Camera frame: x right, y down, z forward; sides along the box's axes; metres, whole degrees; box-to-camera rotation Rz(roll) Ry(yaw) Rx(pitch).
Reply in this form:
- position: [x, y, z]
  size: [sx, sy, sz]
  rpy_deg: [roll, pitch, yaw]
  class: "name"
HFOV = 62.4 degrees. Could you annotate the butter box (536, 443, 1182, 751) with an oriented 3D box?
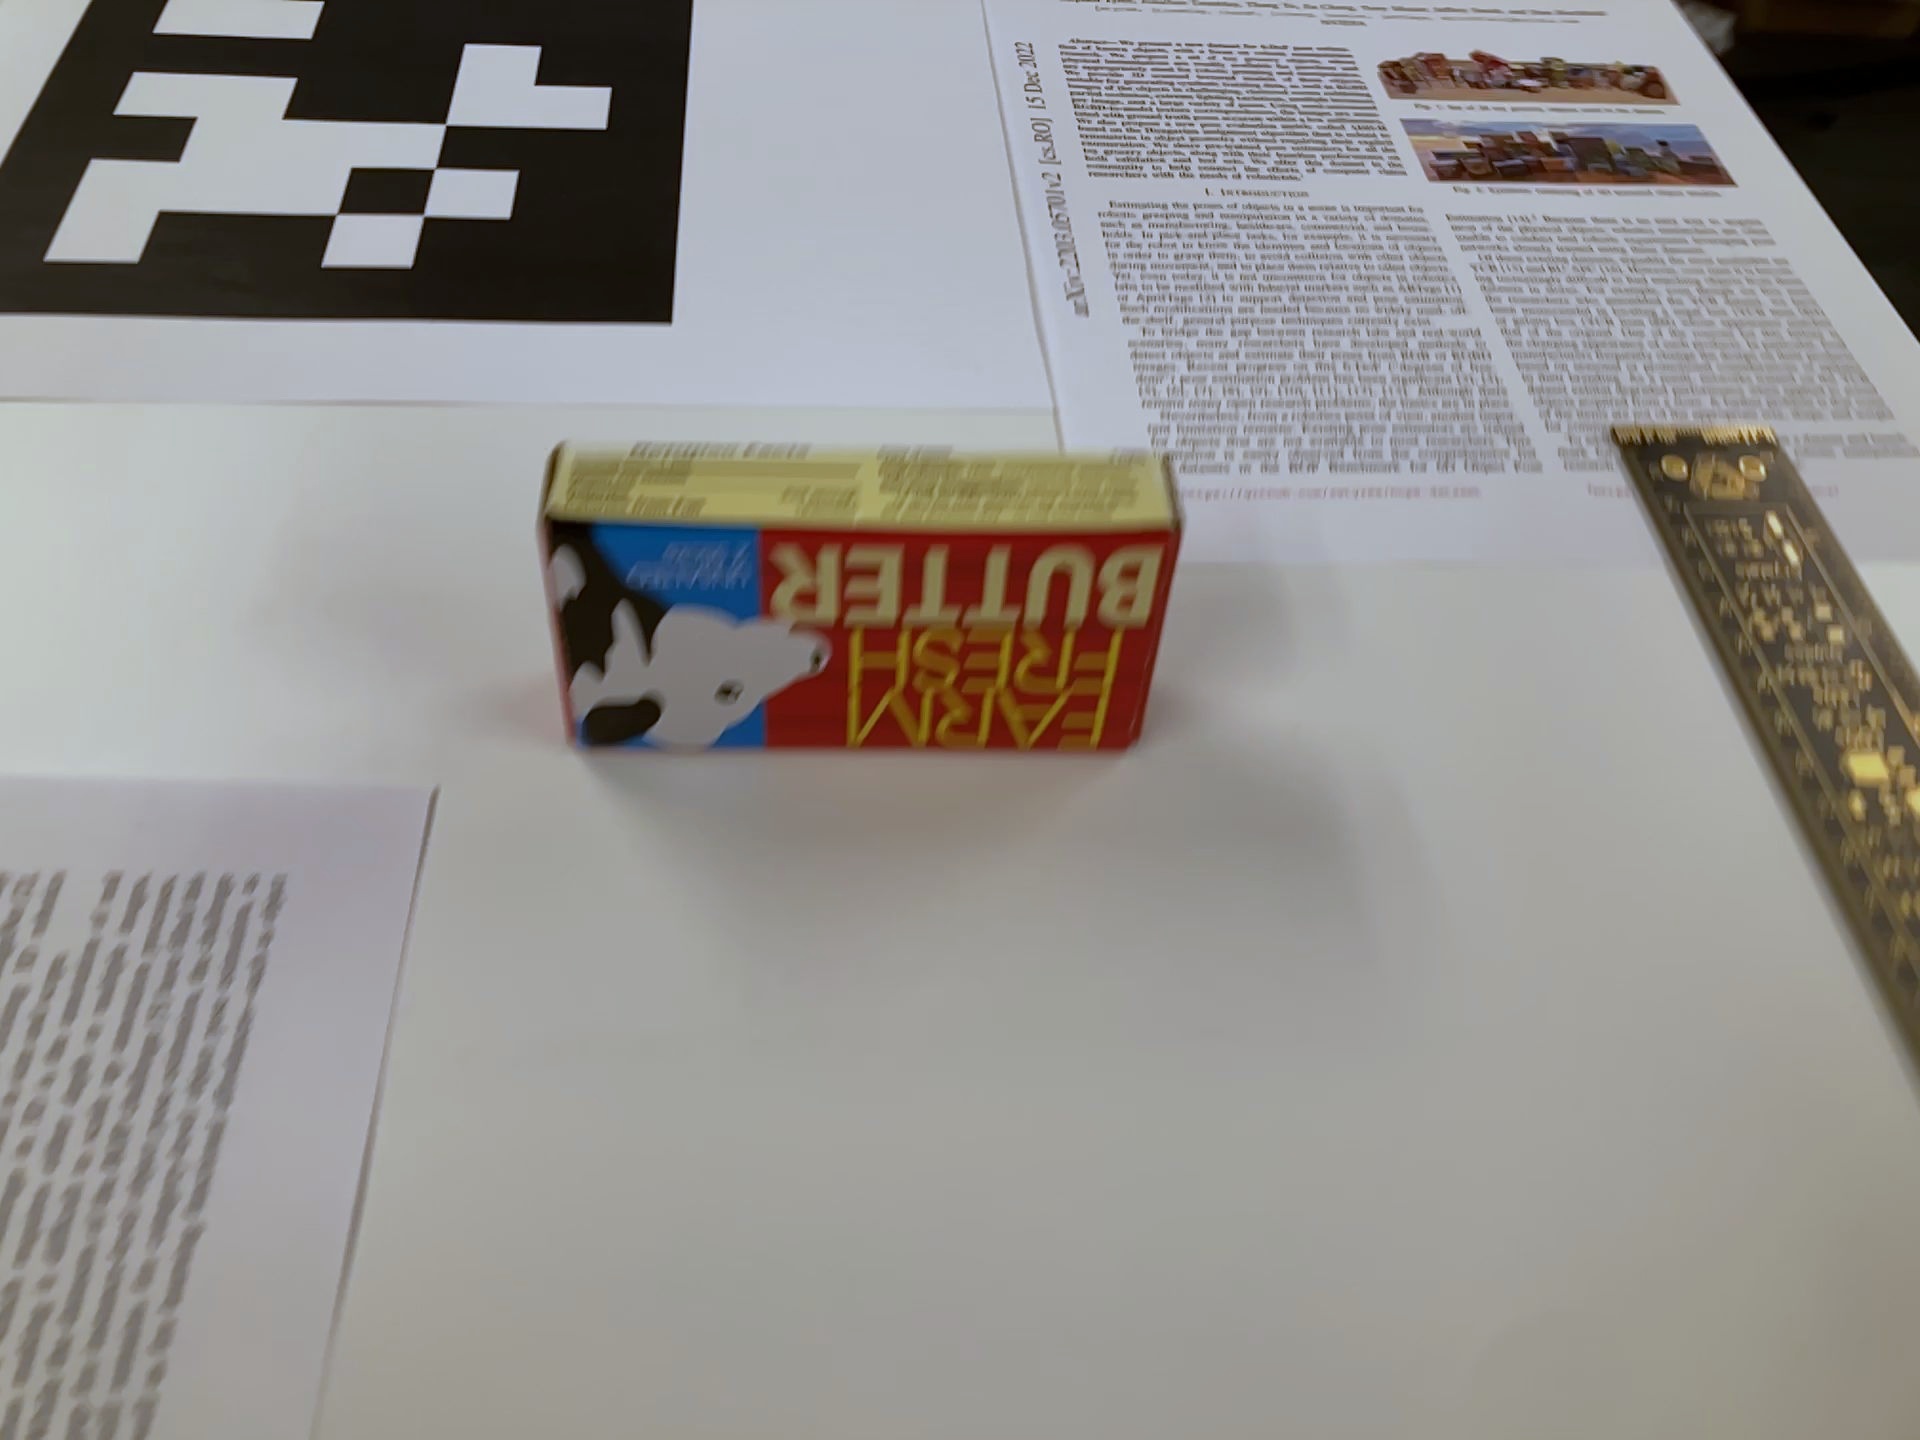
- position: [-0.016, -0.020, 0.271]
  size: [0.103, 0.053, 0.024]
  rpy_deg: [0, 48, -6]
  class: "butter box"
